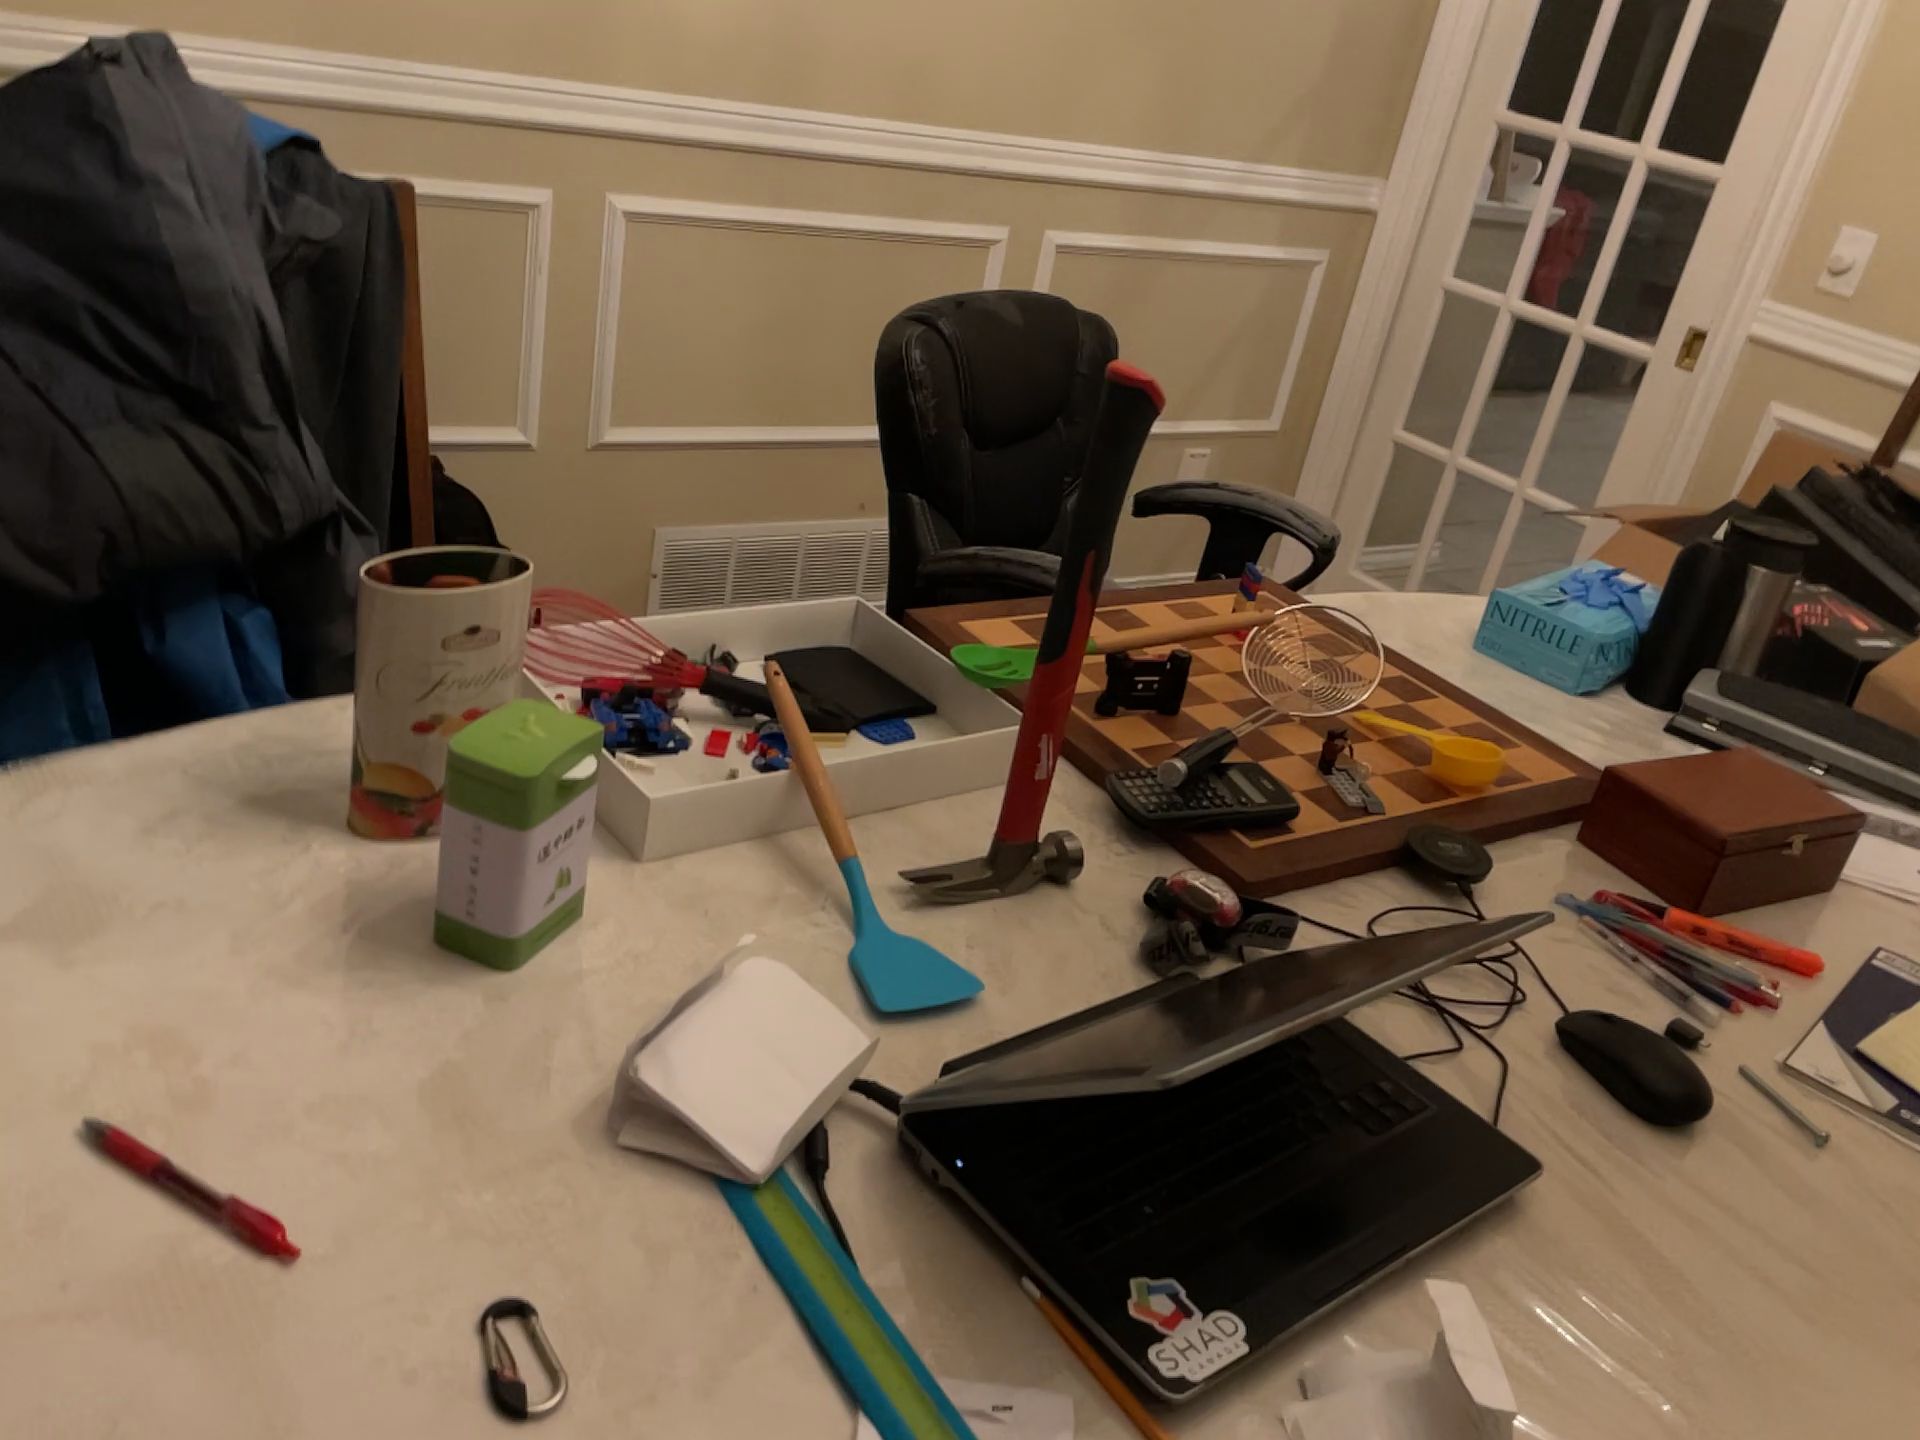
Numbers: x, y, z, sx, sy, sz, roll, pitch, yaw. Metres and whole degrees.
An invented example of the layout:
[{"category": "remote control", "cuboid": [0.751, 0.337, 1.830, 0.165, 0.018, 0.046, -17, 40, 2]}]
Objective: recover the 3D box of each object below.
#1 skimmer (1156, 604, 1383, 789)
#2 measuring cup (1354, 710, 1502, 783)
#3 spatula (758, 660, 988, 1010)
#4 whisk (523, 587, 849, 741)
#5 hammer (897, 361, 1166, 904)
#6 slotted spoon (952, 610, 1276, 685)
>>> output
[{"category": "skimmer", "cuboid": [0.260, -0.024, 1.370, 0.127, 0.090, 0.363, 26, 25, 23]}, {"category": "measuring cup", "cuboid": [0.418, 0.023, 1.440, 0.062, 0.029, 0.157, -11, 22, -34]}, {"category": "spatula", "cuboid": [-0.081, 0.071, 1.091, 0.082, 0.044, 0.318, -6, 52, -29]}, {"category": "whisk", "cuboid": [-0.225, -0.037, 1.259, 0.295, 0.073, 0.073, 19, 42, -18]}, {"category": "hammer", "cuboid": [0.056, -0.047, 1.061, 0.143, 0.386, 0.038, -6, 31, -33]}, {"category": "slotted spoon", "cuboid": [0.139, -0.067, 1.376, 0.313, 0.031, 0.070, -10, 30, -21]}]
